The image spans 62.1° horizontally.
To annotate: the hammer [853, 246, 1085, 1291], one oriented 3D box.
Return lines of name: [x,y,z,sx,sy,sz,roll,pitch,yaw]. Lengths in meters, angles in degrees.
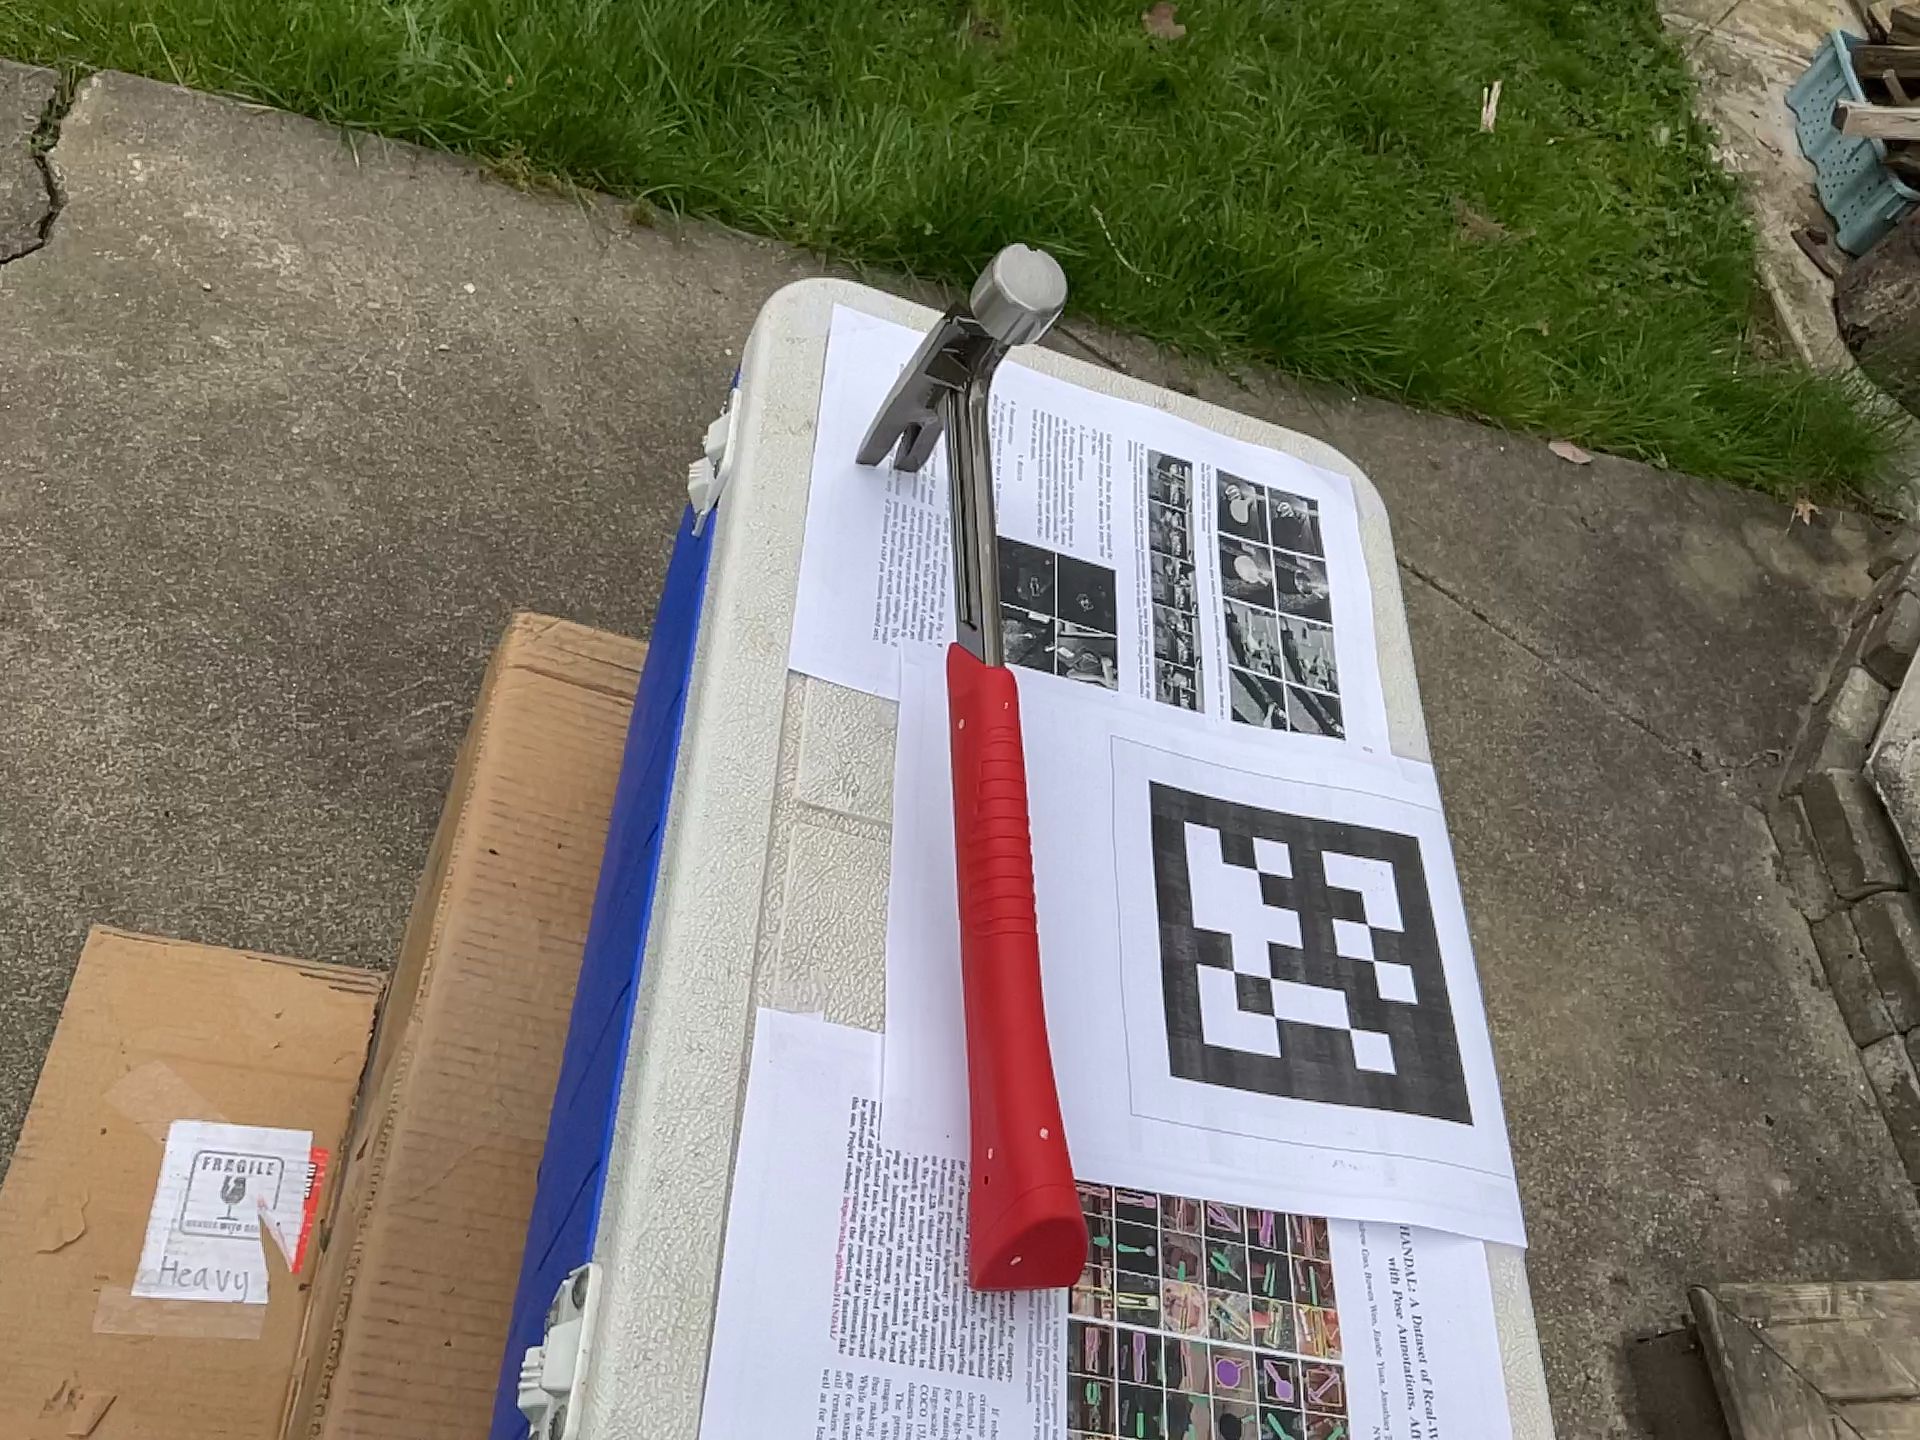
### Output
hammer: [0.005,0.016,0.578,0.036,0.149,0.359,7,66,-23]
